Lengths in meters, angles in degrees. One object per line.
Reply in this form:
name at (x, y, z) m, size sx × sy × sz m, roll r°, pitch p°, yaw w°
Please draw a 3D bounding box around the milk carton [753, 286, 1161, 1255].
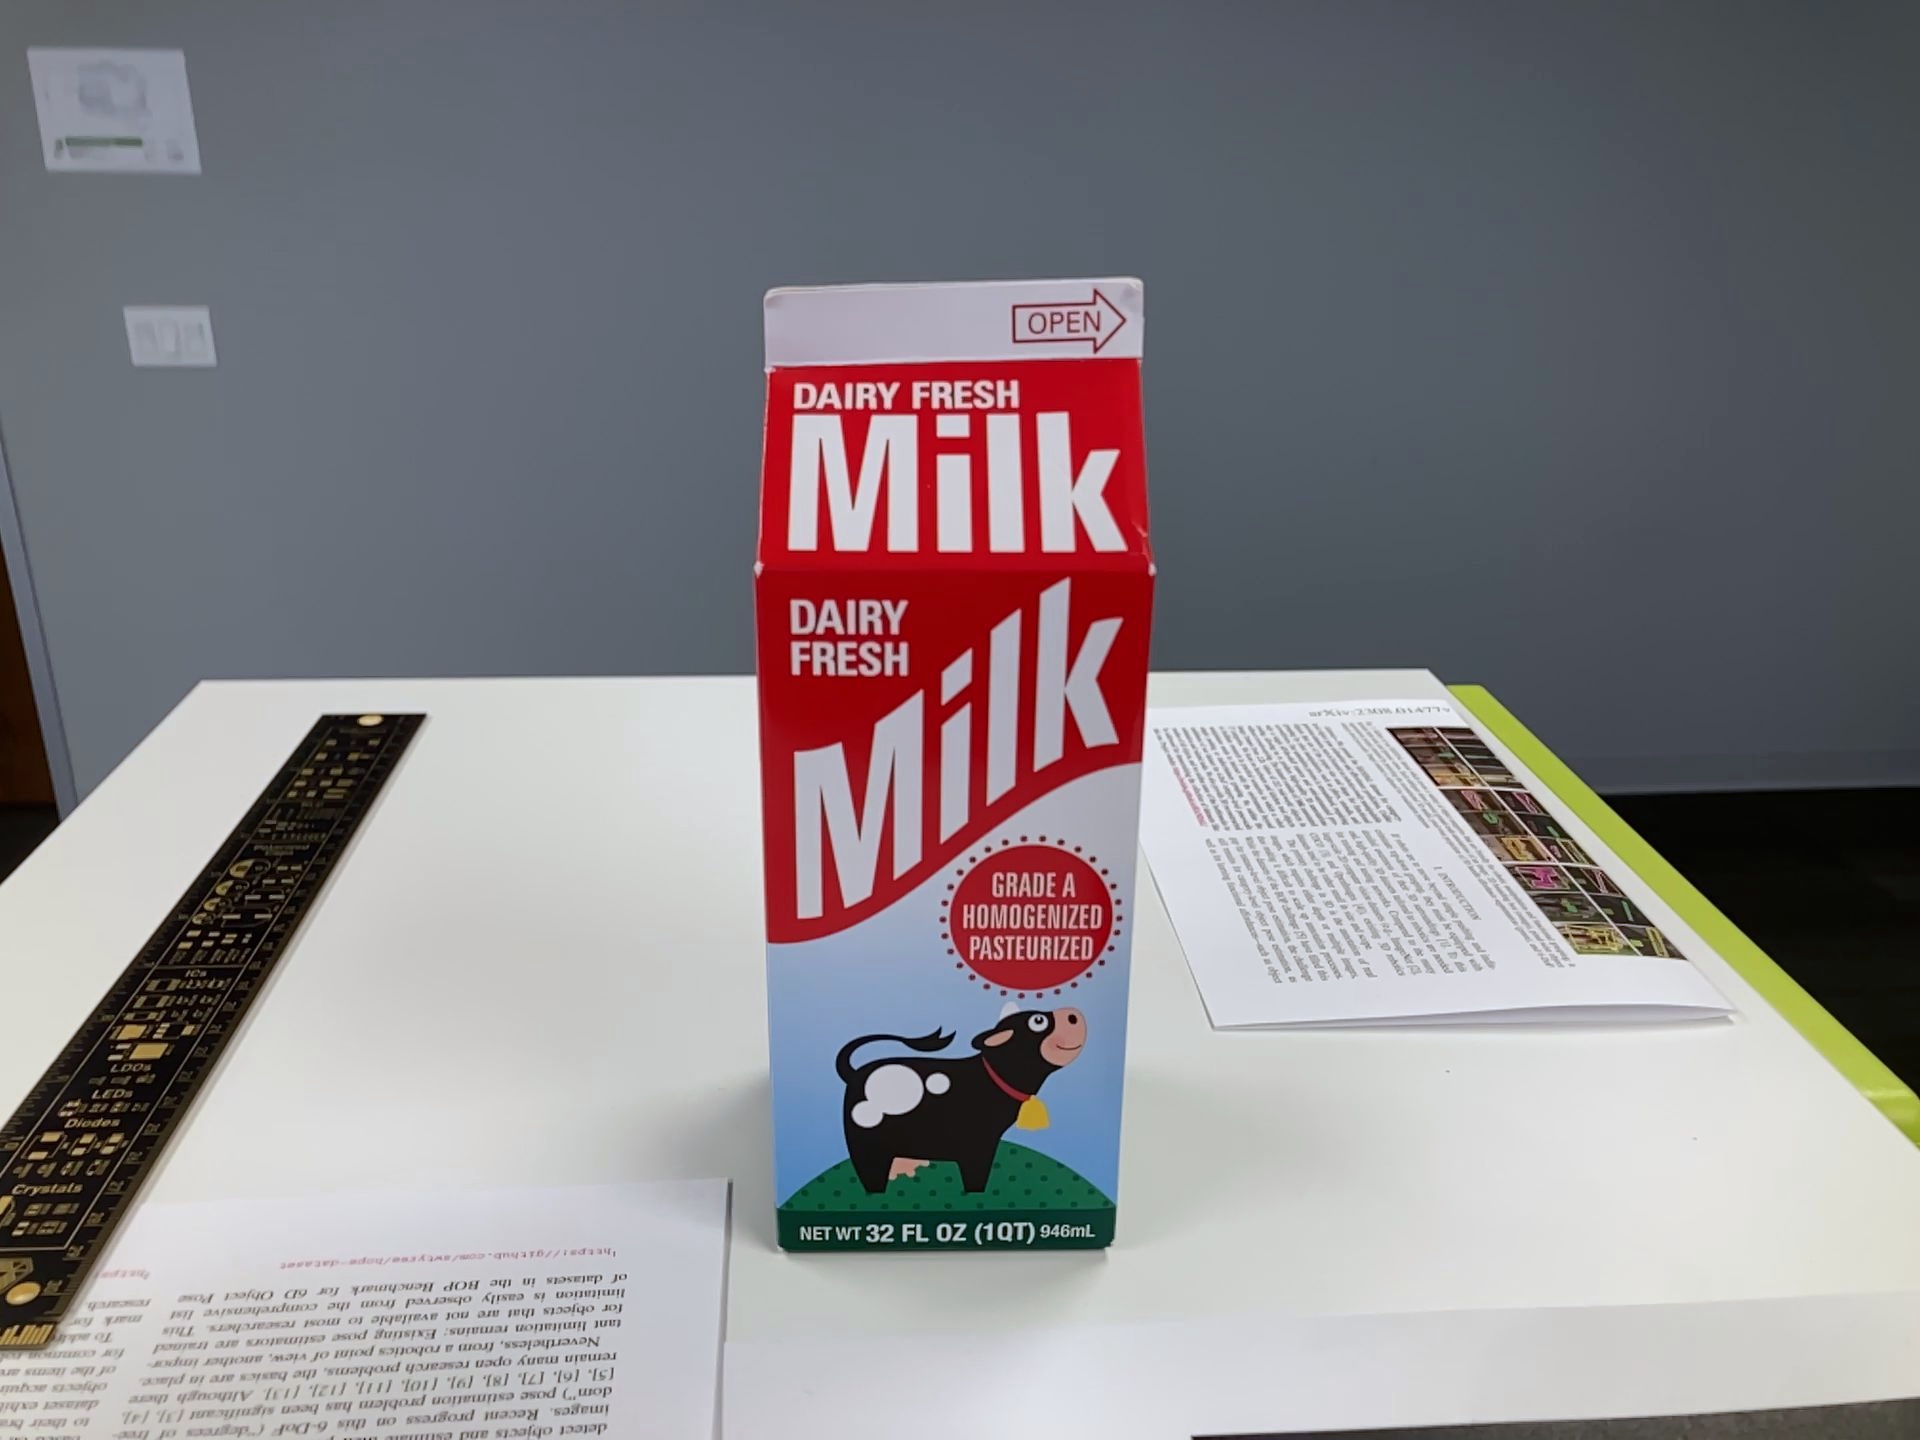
milk carton at (-0.002, 0.010, 0.323) m, size 0.072 × 0.190 × 0.073 m, roll 0°, pitch 22°, yaw -1°
